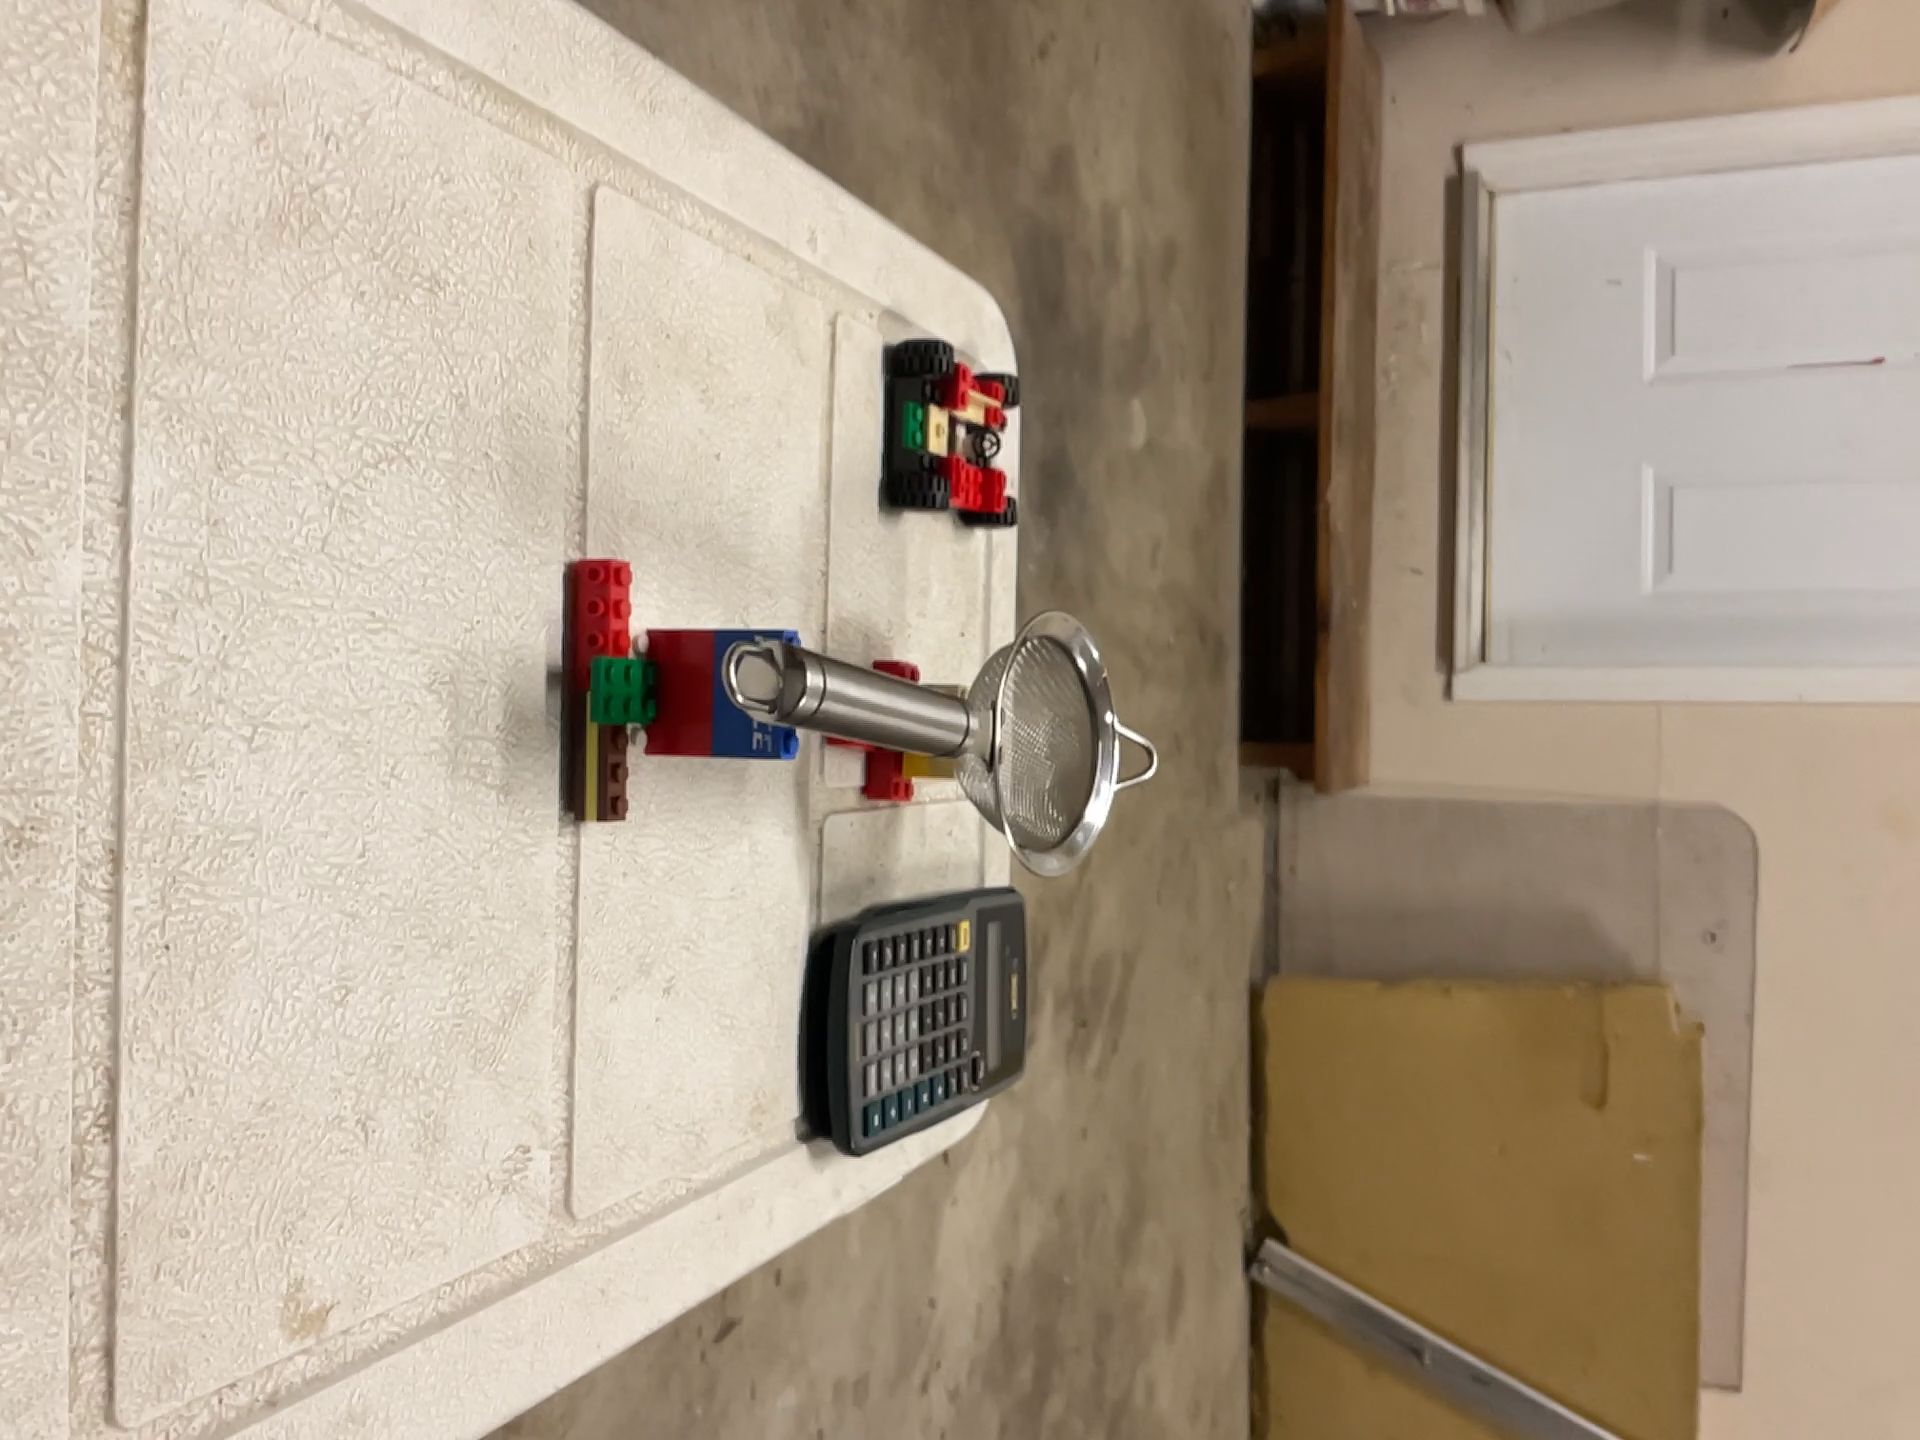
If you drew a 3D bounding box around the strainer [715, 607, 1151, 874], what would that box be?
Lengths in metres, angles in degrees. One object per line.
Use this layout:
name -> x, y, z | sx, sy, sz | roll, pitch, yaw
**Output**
strainer -> -0.004, 0.000, 0.463 | 0.258, 0.050, 0.086 | 14, 77, -67
